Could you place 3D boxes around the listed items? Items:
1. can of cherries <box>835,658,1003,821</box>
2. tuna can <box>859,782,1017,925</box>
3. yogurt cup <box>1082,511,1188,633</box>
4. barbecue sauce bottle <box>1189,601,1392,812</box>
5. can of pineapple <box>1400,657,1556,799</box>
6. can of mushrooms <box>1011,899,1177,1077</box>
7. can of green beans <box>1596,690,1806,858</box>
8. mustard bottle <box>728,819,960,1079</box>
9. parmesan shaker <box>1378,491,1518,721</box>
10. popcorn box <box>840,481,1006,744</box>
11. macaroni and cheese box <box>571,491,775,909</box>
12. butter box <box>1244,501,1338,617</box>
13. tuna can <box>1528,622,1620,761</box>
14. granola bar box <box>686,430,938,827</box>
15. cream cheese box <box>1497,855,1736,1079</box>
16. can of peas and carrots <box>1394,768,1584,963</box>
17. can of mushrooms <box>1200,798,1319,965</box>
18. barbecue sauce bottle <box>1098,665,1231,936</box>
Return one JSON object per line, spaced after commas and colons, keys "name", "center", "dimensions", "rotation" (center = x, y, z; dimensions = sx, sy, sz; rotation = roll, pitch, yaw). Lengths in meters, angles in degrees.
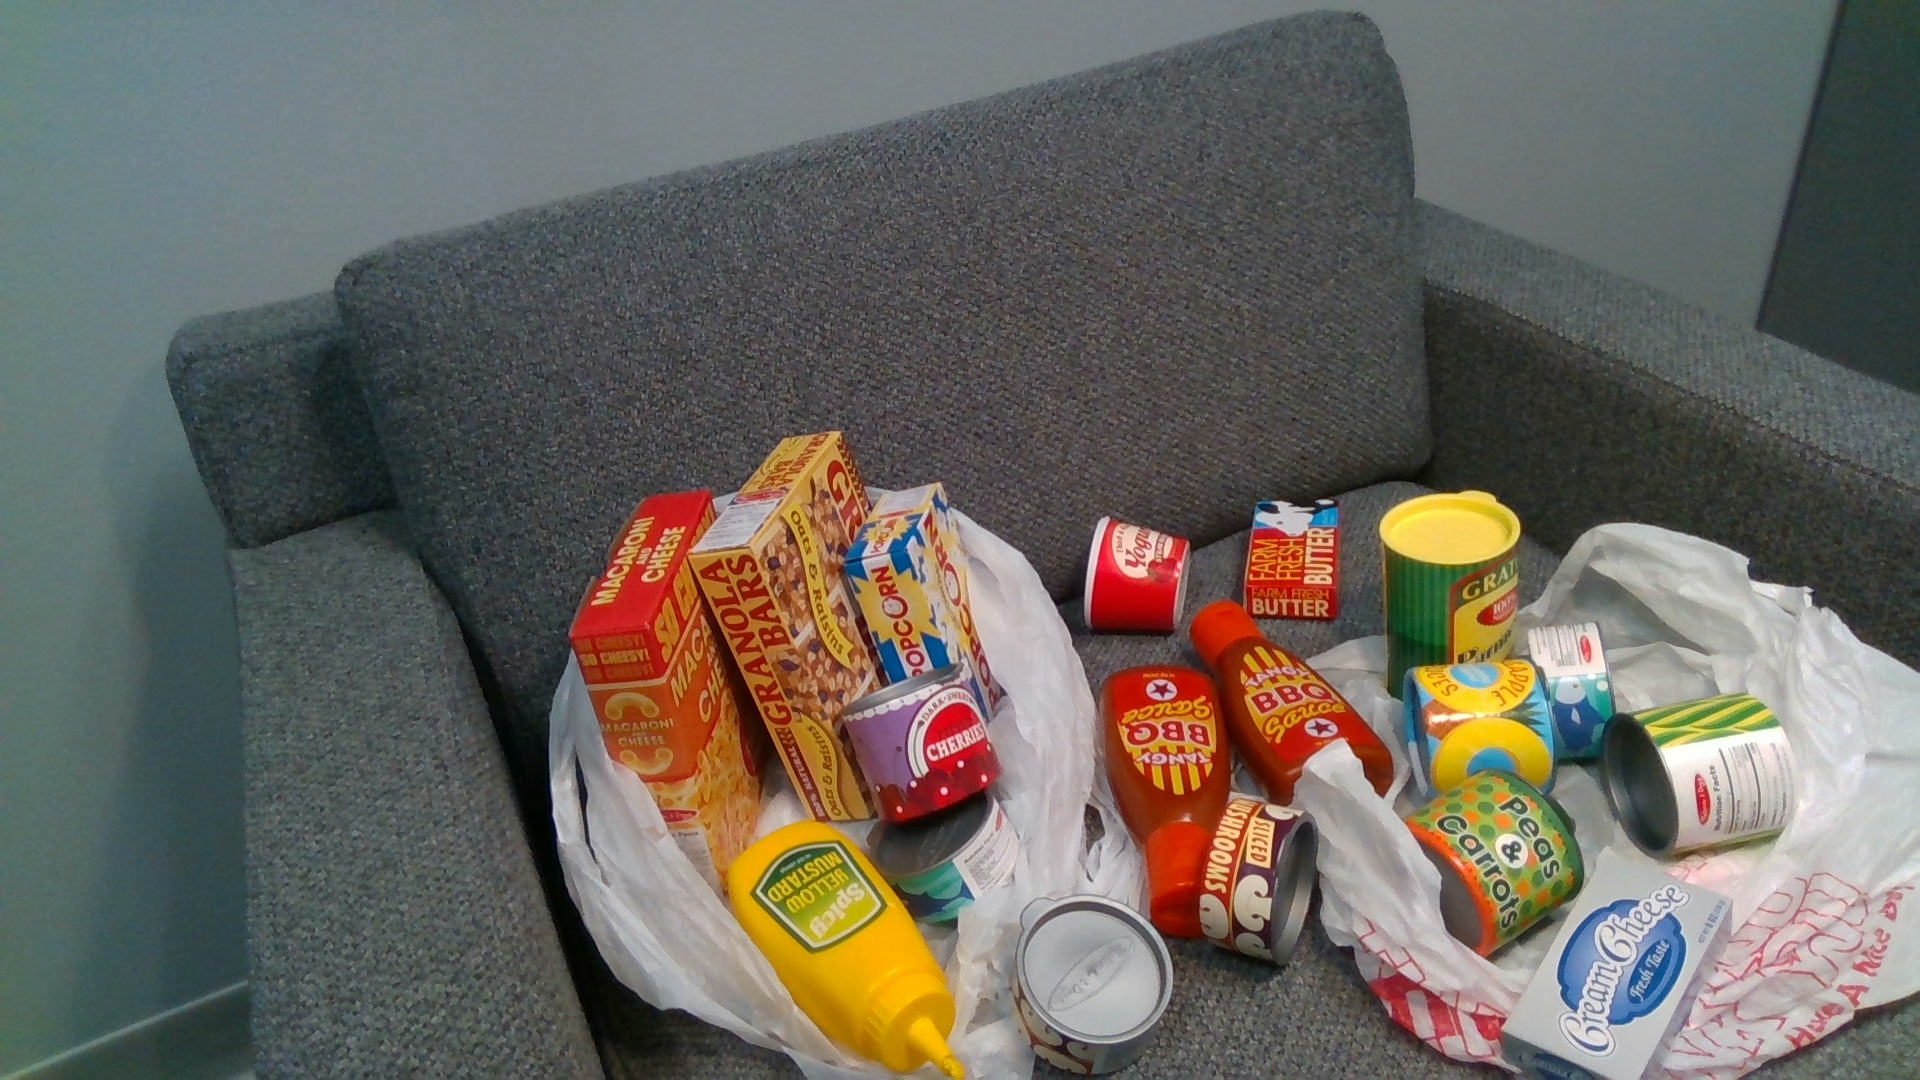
{"name": "can of cherries", "center": [-0.018, 0.095, 0.668], "dimensions": [0.071, 0.058, 0.071], "rotation": [-20, 3, 1]}
{"name": "tuna can", "center": [-0.011, 0.146, 0.651], "dimensions": [0.071, 0.032, 0.071], "rotation": [-24, 20, 10]}
{"name": "yogurt cup", "center": [0.104, 0.024, 0.817], "dimensions": [0.054, 0.072, 0.073], "rotation": [8, 34, 12]}
{"name": "barbecue sauce bottle", "center": [0.163, 0.085, 0.728], "dimensions": [0.065, 0.043, 0.149], "rotation": [-8, 30, -11]}
{"name": "can of pineapple", "center": [0.249, 0.090, 0.672], "dimensions": [0.058, 0.070, 0.071], "rotation": [-5, 31, 7]}
{"name": "can of mushrooms", "center": [0.054, 0.187, 0.585], "dimensions": [0.071, 0.033, 0.071], "rotation": [4, 42, -4]}
{"name": "can of green beans", "center": [0.333, 0.104, 0.625], "dimensions": [0.058, 0.071, 0.071], "rotation": [-10, 31, -1]}
{"name": "mustard bottle", "center": [-0.043, 0.182, 0.603], "dimensions": [0.065, 0.048, 0.160], "rotation": [-28, 35, -24]}
{"name": "parmesan shaker", "center": [0.256, 0.036, 0.722], "dimensions": [0.071, 0.102, 0.071], "rotation": [-9, 29, 6]}
{"name": "popcorn box", "center": [-0.014, 0.044, 0.736], "dimensions": [0.038, 0.126, 0.085], "rotation": [-12, 21, 20]}
{"name": "macaroni and cheese box", "center": [-0.135, 0.079, 0.680], "dimensions": [0.040, 0.165, 0.124], "rotation": [-6, 29, 7]}
{"name": "butter box", "center": [0.204, 0.011, 0.852], "dimensions": [0.053, 0.024, 0.104], "rotation": [-1, 30, 17]}
{"name": "tuna can", "center": [0.301, 0.077, 0.683], "dimensions": [0.033, 0.070, 0.071], "rotation": [-9, 30, 20]}
{"name": "granola bar box", "center": [-0.067, 0.043, 0.718], "dimensions": [0.039, 0.165, 0.125], "rotation": [-10, 26, 23]}
{"name": "cream cheese box", "center": [0.262, 0.175, 0.552], "dimensions": [0.053, 0.024, 0.104], "rotation": [13, 43, 44]}
{"name": "can of peas and carrots", "center": [0.223, 0.140, 0.598], "dimensions": [0.059, 0.070, 0.071], "rotation": [-23, 34, -22]}
{"name": "can of mushrooms", "center": [0.131, 0.147, 0.606], "dimensions": [0.033, 0.070, 0.071], "rotation": [9, 35, 30]}
{"name": "barbecue sauce bottle", "center": [0.103, 0.123, 0.676], "dimensions": [0.065, 0.043, 0.149], "rotation": [0, 34, 1]}
